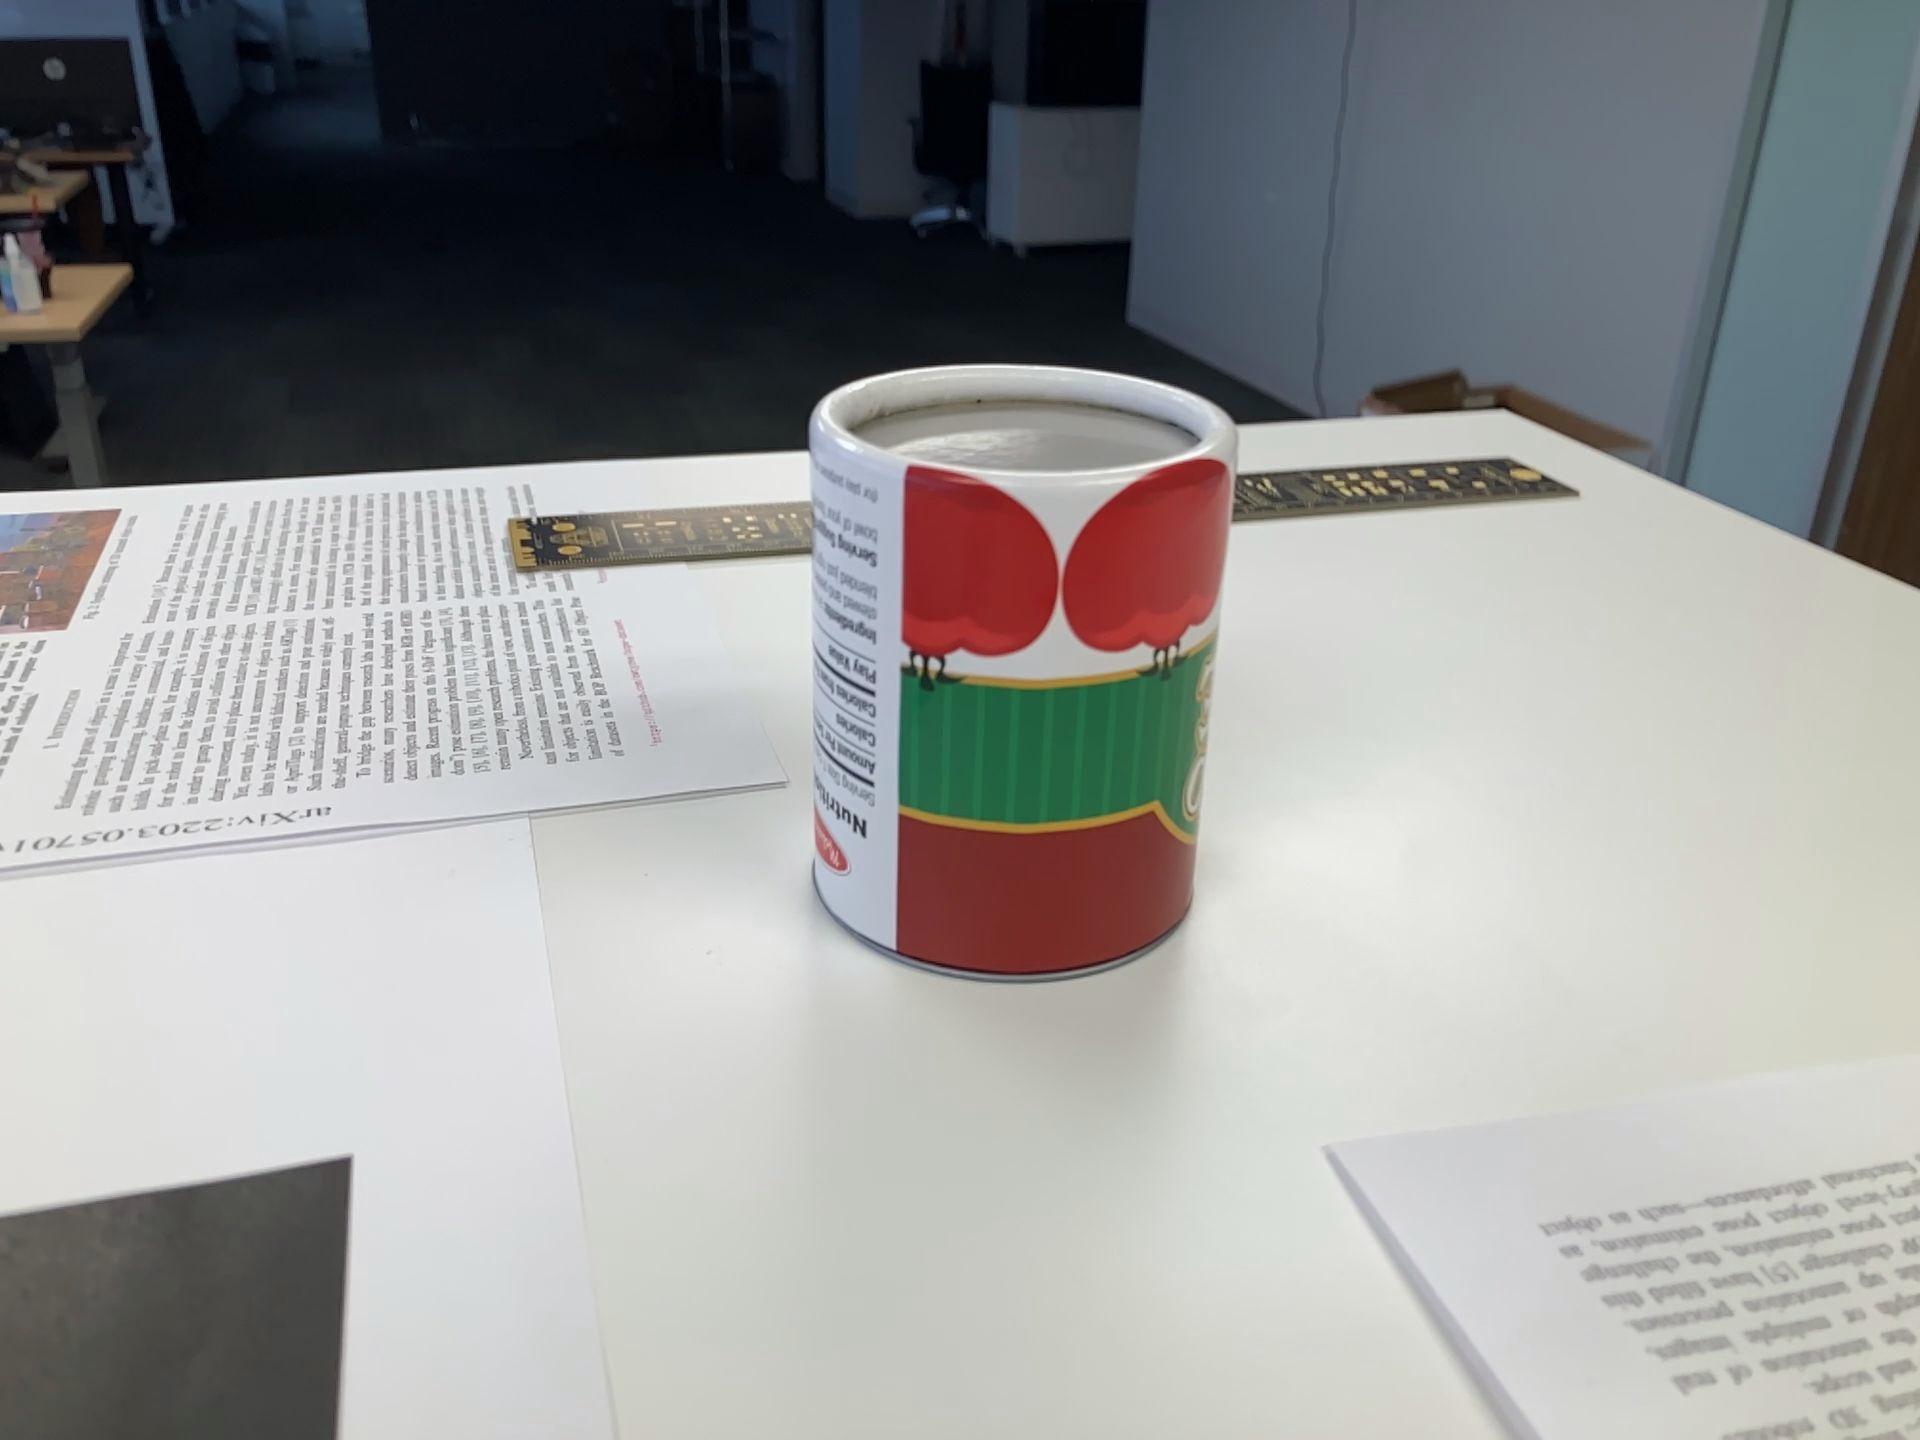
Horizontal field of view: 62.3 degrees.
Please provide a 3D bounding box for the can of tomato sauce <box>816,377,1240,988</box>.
[{"bbox_3d":[0.011,-0.009,0.262,0.071,0.083,0.071,2,23,-1],"label":"can of tomato sauce"}]
